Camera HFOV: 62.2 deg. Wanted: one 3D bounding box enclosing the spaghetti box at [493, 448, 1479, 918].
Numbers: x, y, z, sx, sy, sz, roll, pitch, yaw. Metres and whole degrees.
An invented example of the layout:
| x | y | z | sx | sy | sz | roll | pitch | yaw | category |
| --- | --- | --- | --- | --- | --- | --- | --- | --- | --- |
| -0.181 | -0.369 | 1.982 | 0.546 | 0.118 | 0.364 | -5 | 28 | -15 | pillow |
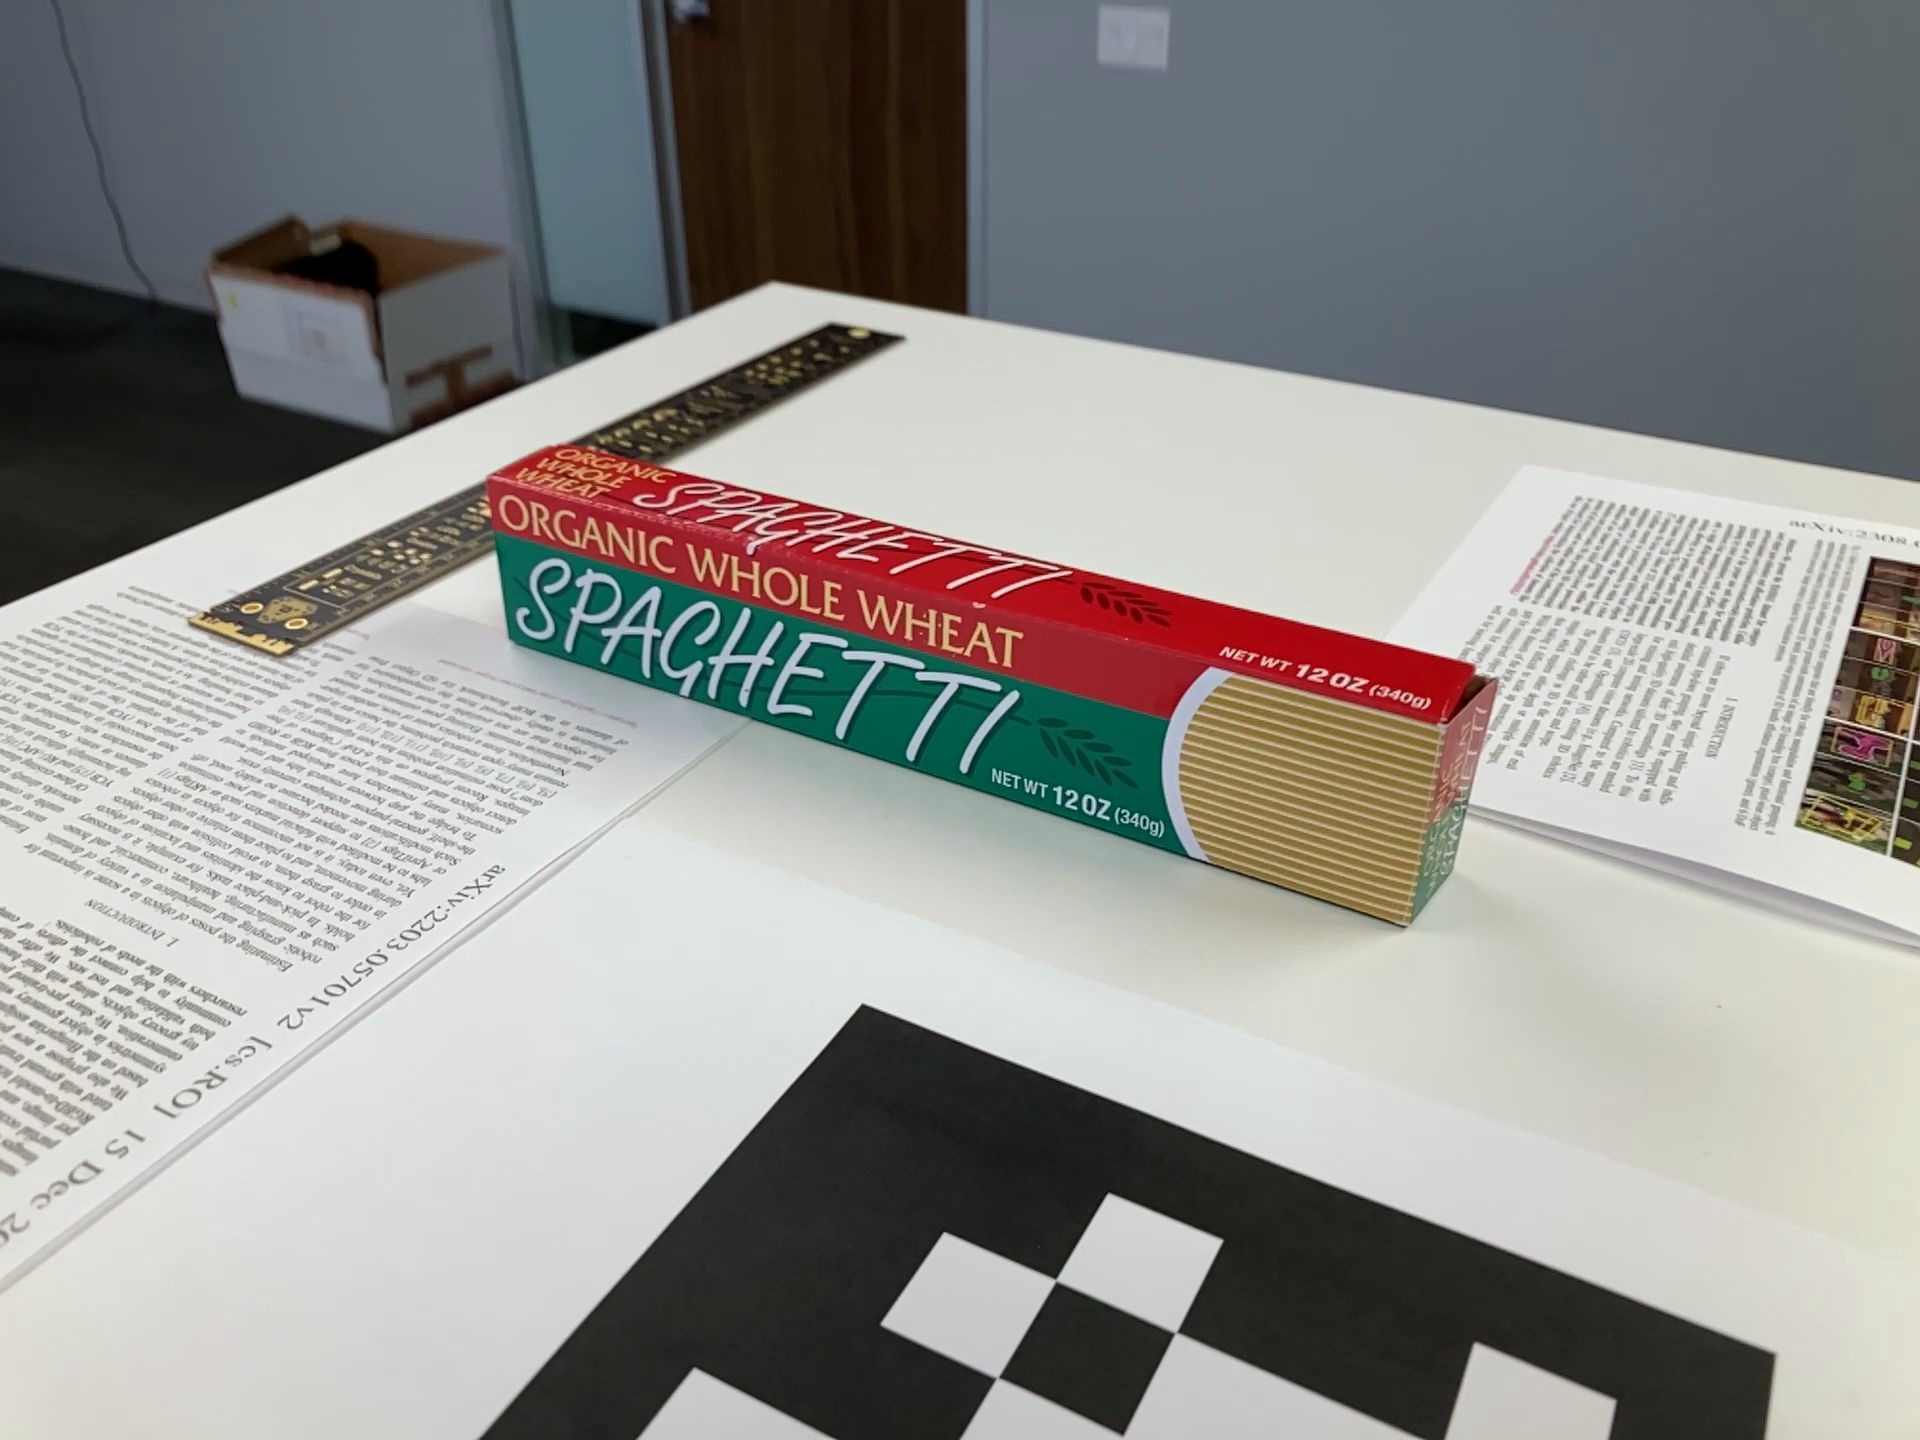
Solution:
| x | y | z | sx | sy | sz | roll | pitch | yaw | category |
| --- | --- | --- | --- | --- | --- | --- | --- | --- | --- |
| -0.009 | -0.016 | 0.379 | 0.250 | 0.050 | 0.028 | 16 | 32 | 25 | spaghetti box |
